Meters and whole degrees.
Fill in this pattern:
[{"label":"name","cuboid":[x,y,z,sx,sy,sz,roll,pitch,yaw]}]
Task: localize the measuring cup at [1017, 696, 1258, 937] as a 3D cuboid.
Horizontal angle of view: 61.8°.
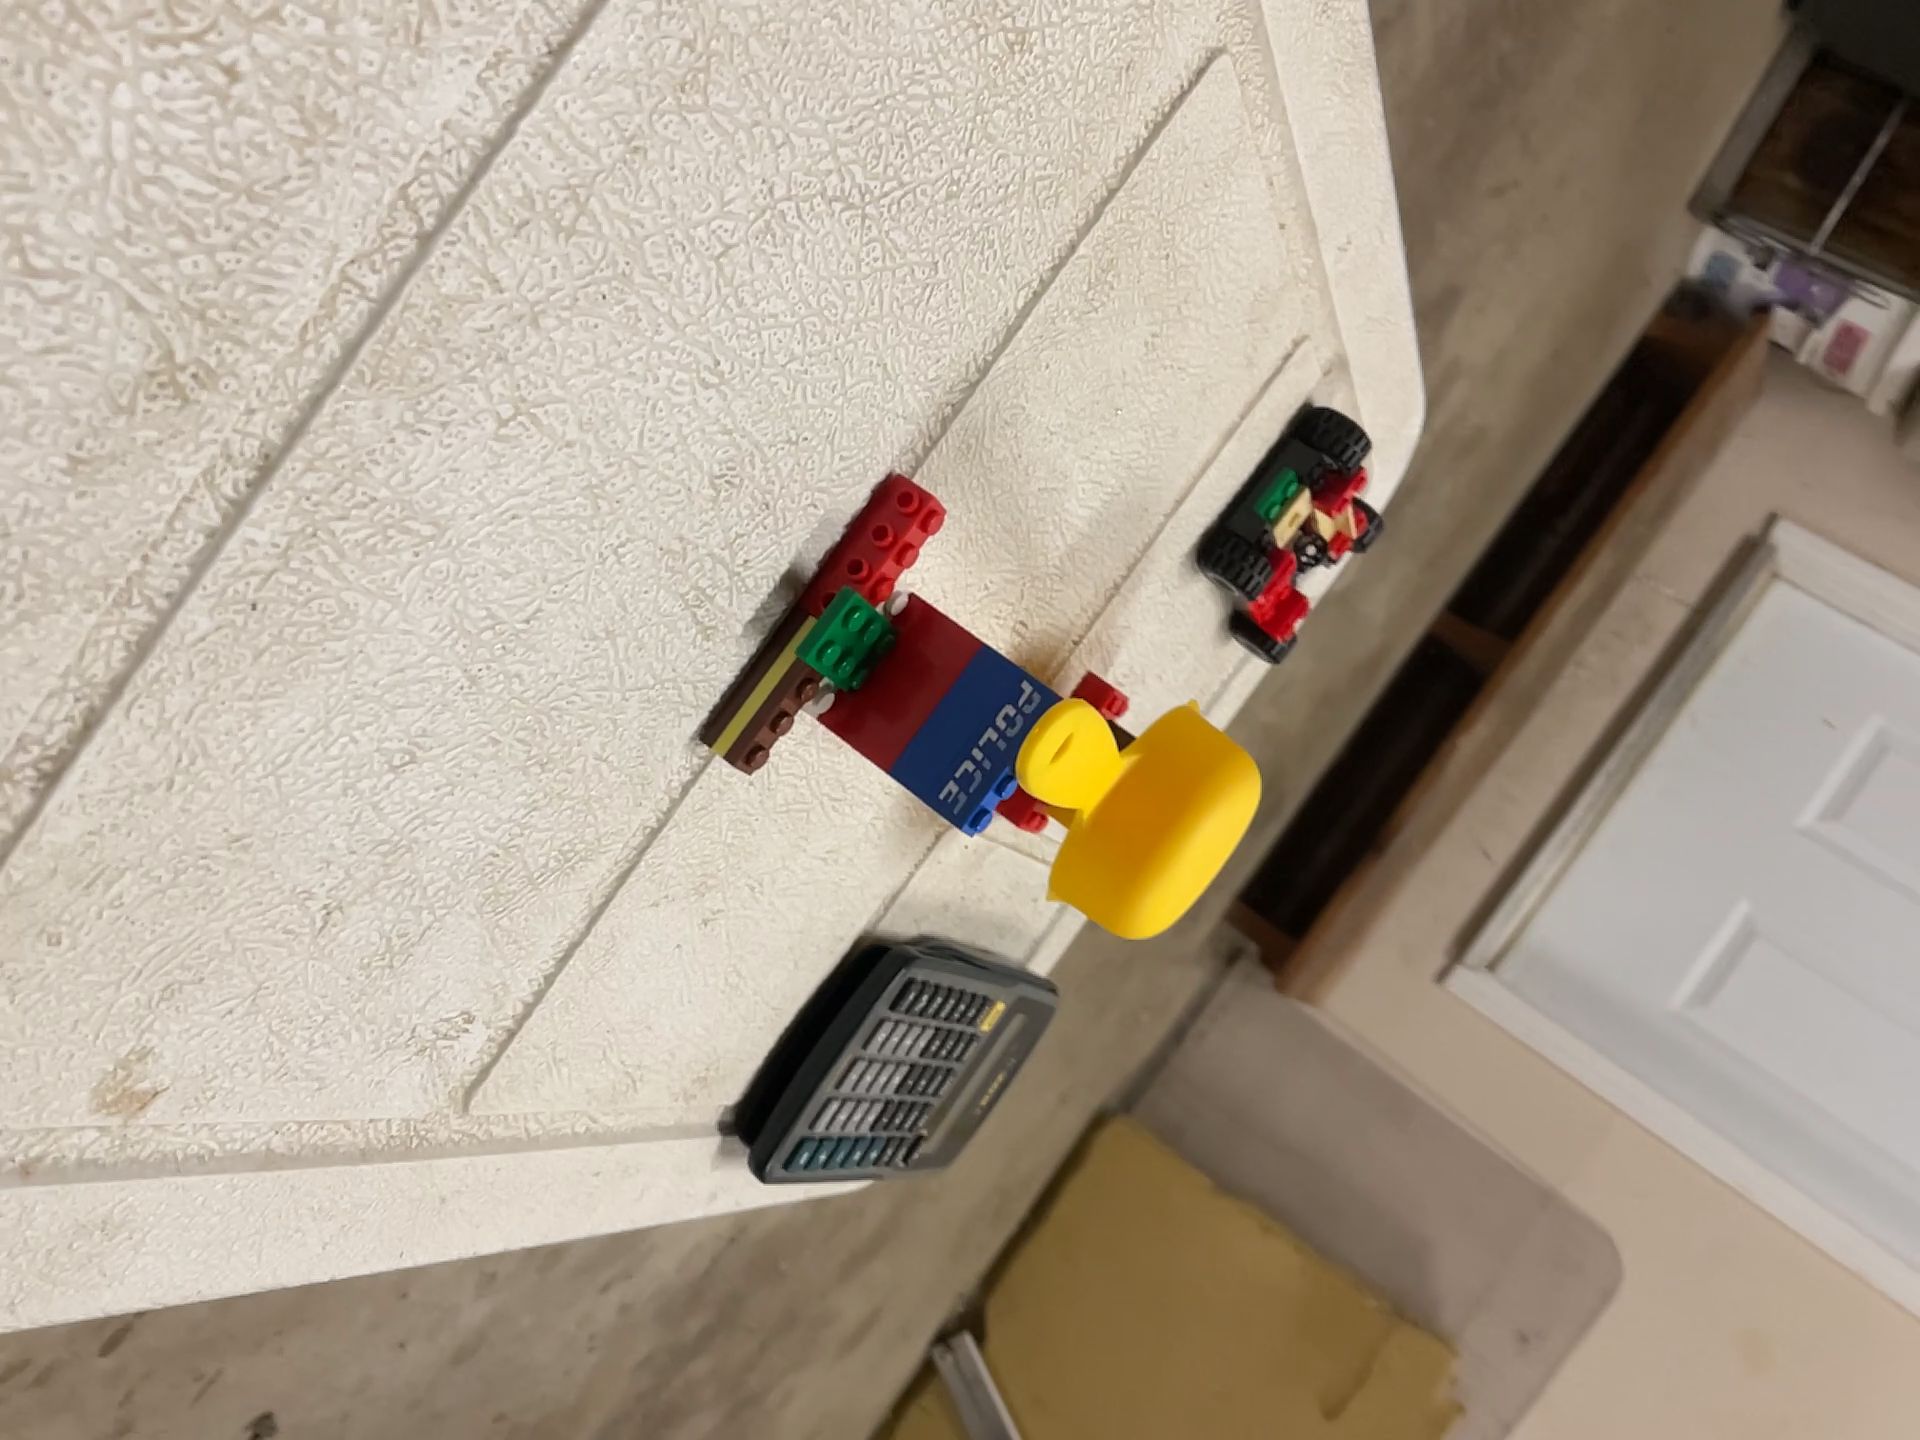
[{"label":"measuring cup","cuboid":[0.041,0.021,0.364,0.062,0.029,0.156,-54,163,0]}]
